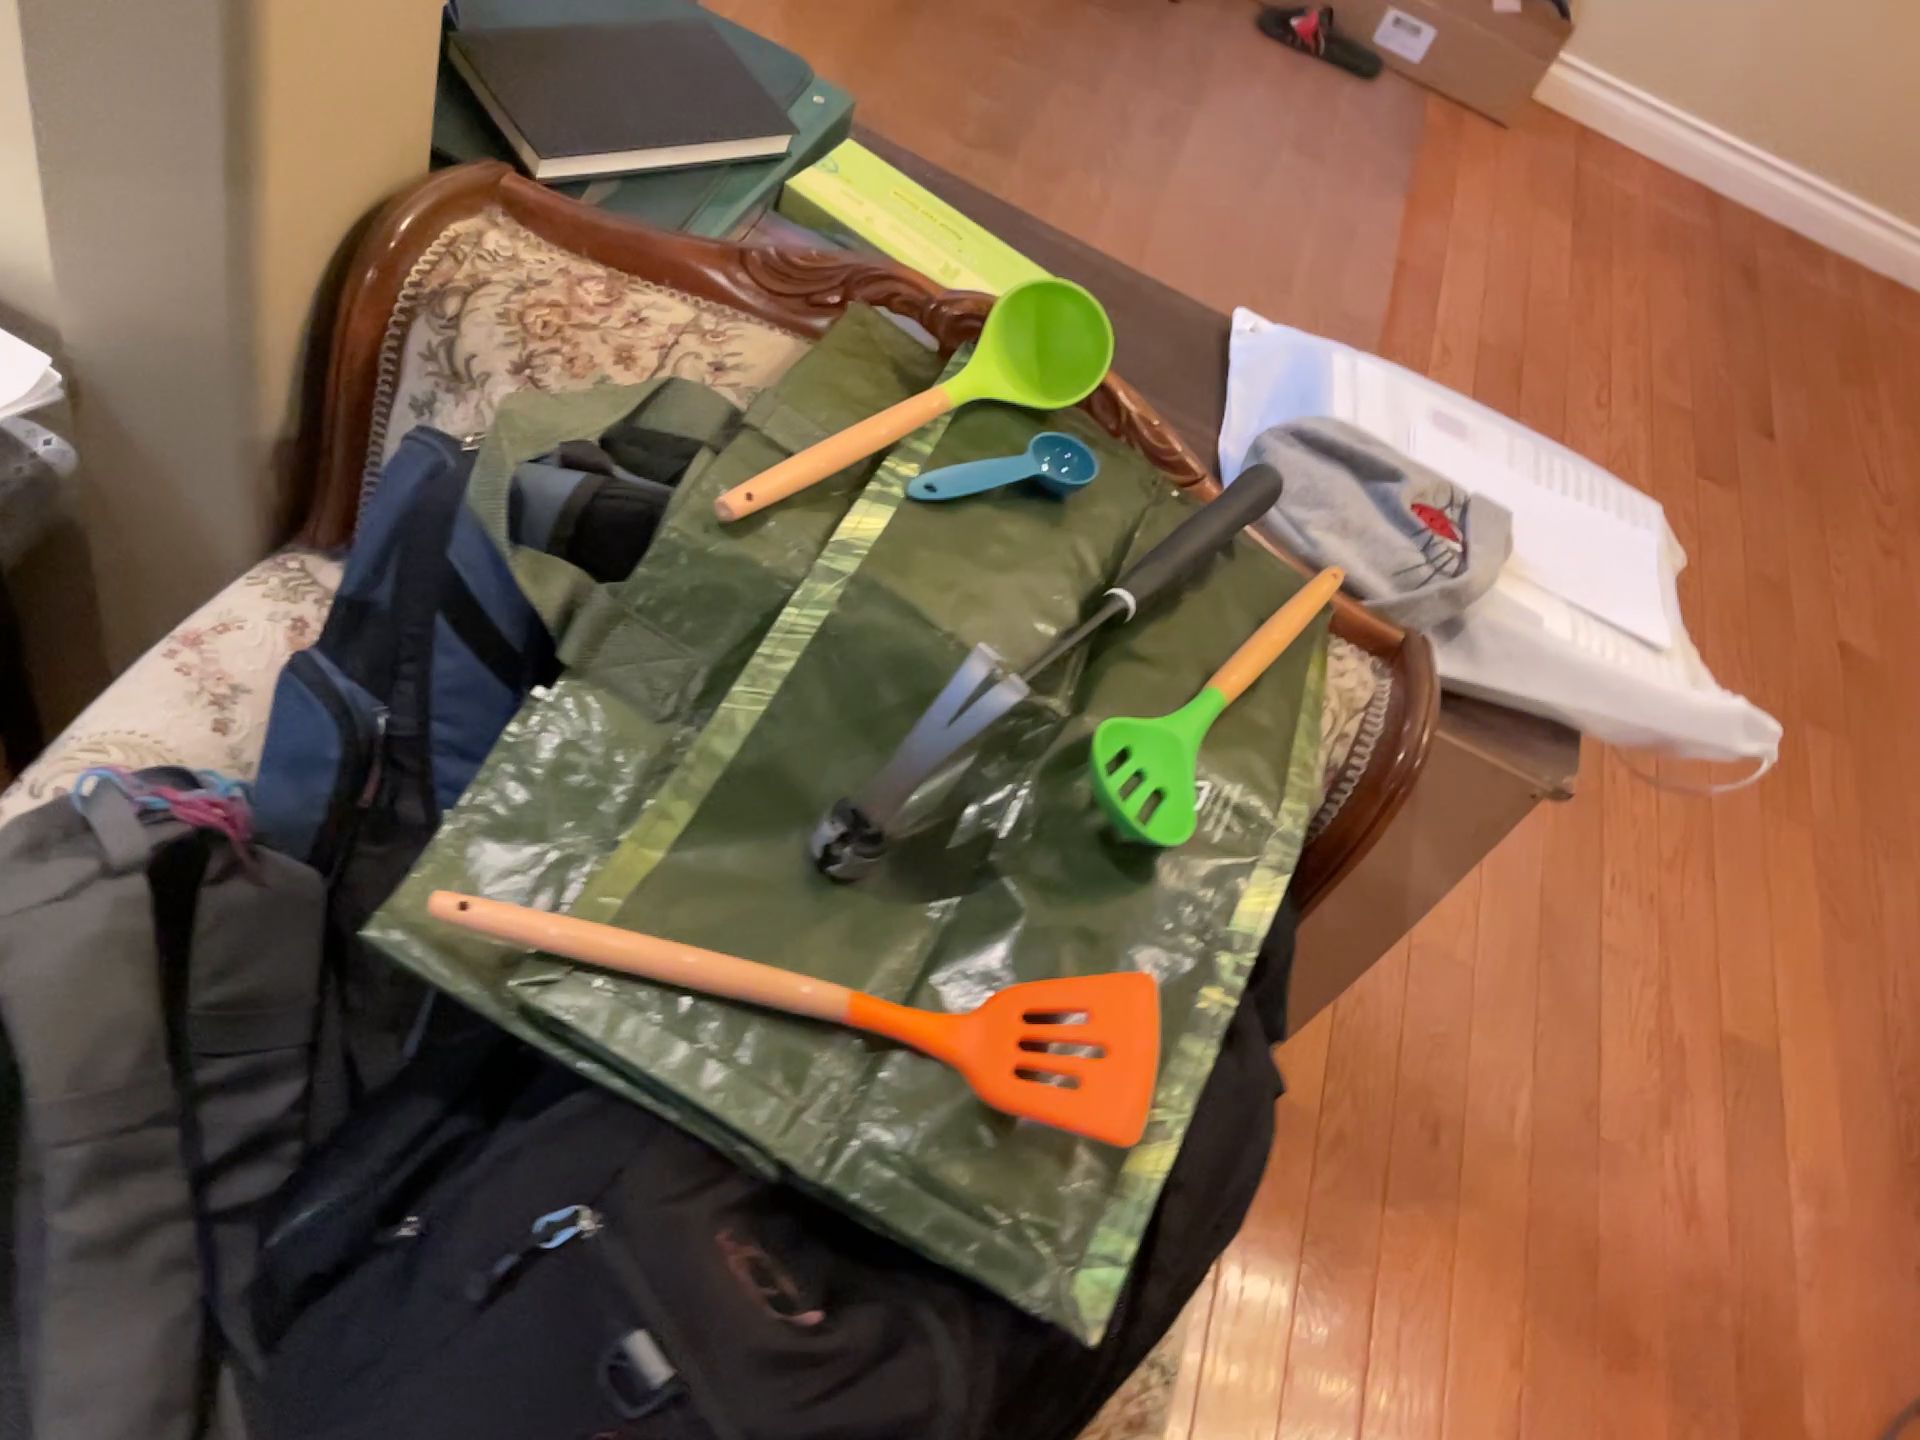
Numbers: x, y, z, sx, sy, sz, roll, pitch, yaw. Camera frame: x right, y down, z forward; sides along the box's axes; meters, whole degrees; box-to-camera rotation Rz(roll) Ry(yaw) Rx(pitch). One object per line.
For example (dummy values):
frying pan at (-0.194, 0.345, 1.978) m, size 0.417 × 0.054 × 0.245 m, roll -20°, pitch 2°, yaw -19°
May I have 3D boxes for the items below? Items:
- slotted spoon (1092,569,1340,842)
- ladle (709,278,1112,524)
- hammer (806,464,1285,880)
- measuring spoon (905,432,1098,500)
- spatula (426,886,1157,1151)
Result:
slotted spoon at (0.149, -0.020, 0.865) m, size 0.070 × 0.031 × 0.313 m, roll 51°, pitch 42°, yaw 0°
ladle at (-0.019, -0.172, 0.868) m, size 0.320 × 0.062 × 0.078 m, roll -37°, pitch 100°, yaw -45°
hammer at (0.078, -0.057, 0.846) m, size 0.036 × 0.149 × 0.409 m, roll 47°, pitch 45°, yaw 4°
measuring spoon at (0.021, -0.132, 0.880) m, size 0.128 × 0.021 × 0.042 m, roll -17°, pitch 60°, yaw -32°
spatula at (-0.073, 0.117, 0.696) m, size 0.322 × 0.041 × 0.081 m, roll 16°, pitch 58°, yaw -6°
